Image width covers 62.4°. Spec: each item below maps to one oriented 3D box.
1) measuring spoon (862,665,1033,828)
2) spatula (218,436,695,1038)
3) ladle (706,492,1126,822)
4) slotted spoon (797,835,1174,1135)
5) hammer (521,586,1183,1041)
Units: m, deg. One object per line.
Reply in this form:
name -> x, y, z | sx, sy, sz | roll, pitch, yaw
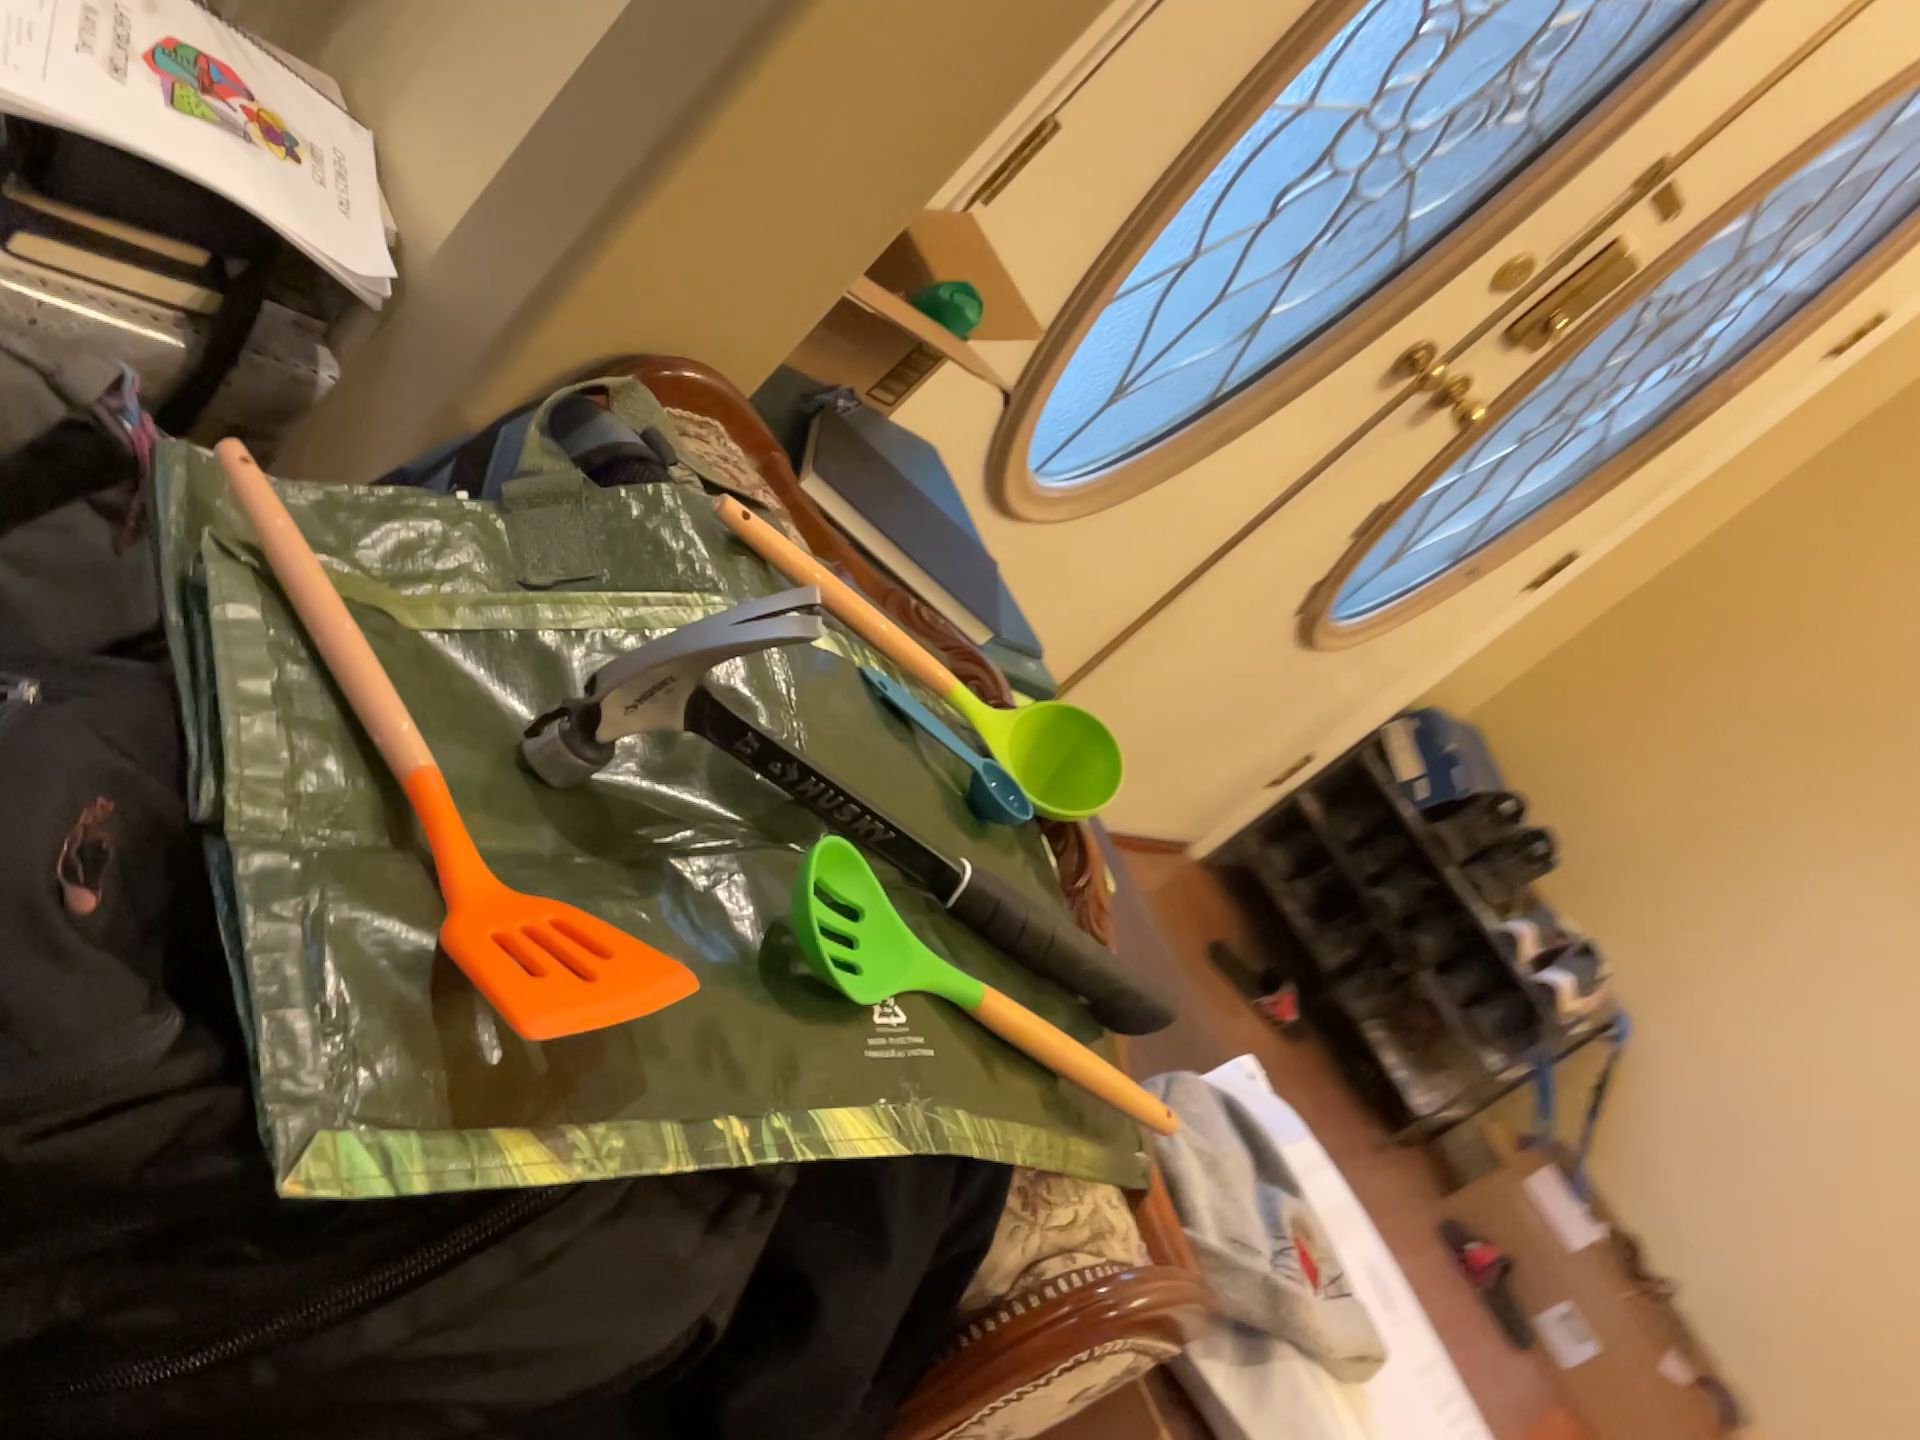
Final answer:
measuring spoon -> -0.011, 0.017, 0.868 | 0.128, 0.021, 0.042 | 42, 22, -17
spatula -> -0.218, -0.003, 0.620 | 0.081, 0.041, 0.323 | -6, 53, -53
ladle -> -0.016, -0.035, 0.892 | 0.319, 0.062, 0.078 | 38, 49, -38
slotted spoon -> 0.020, 0.143, 0.756 | 0.313, 0.031, 0.070 | 40, 37, -41
hammer -> -0.010, 0.071, 0.784 | 0.408, 0.149, 0.036 | 38, 33, -38
